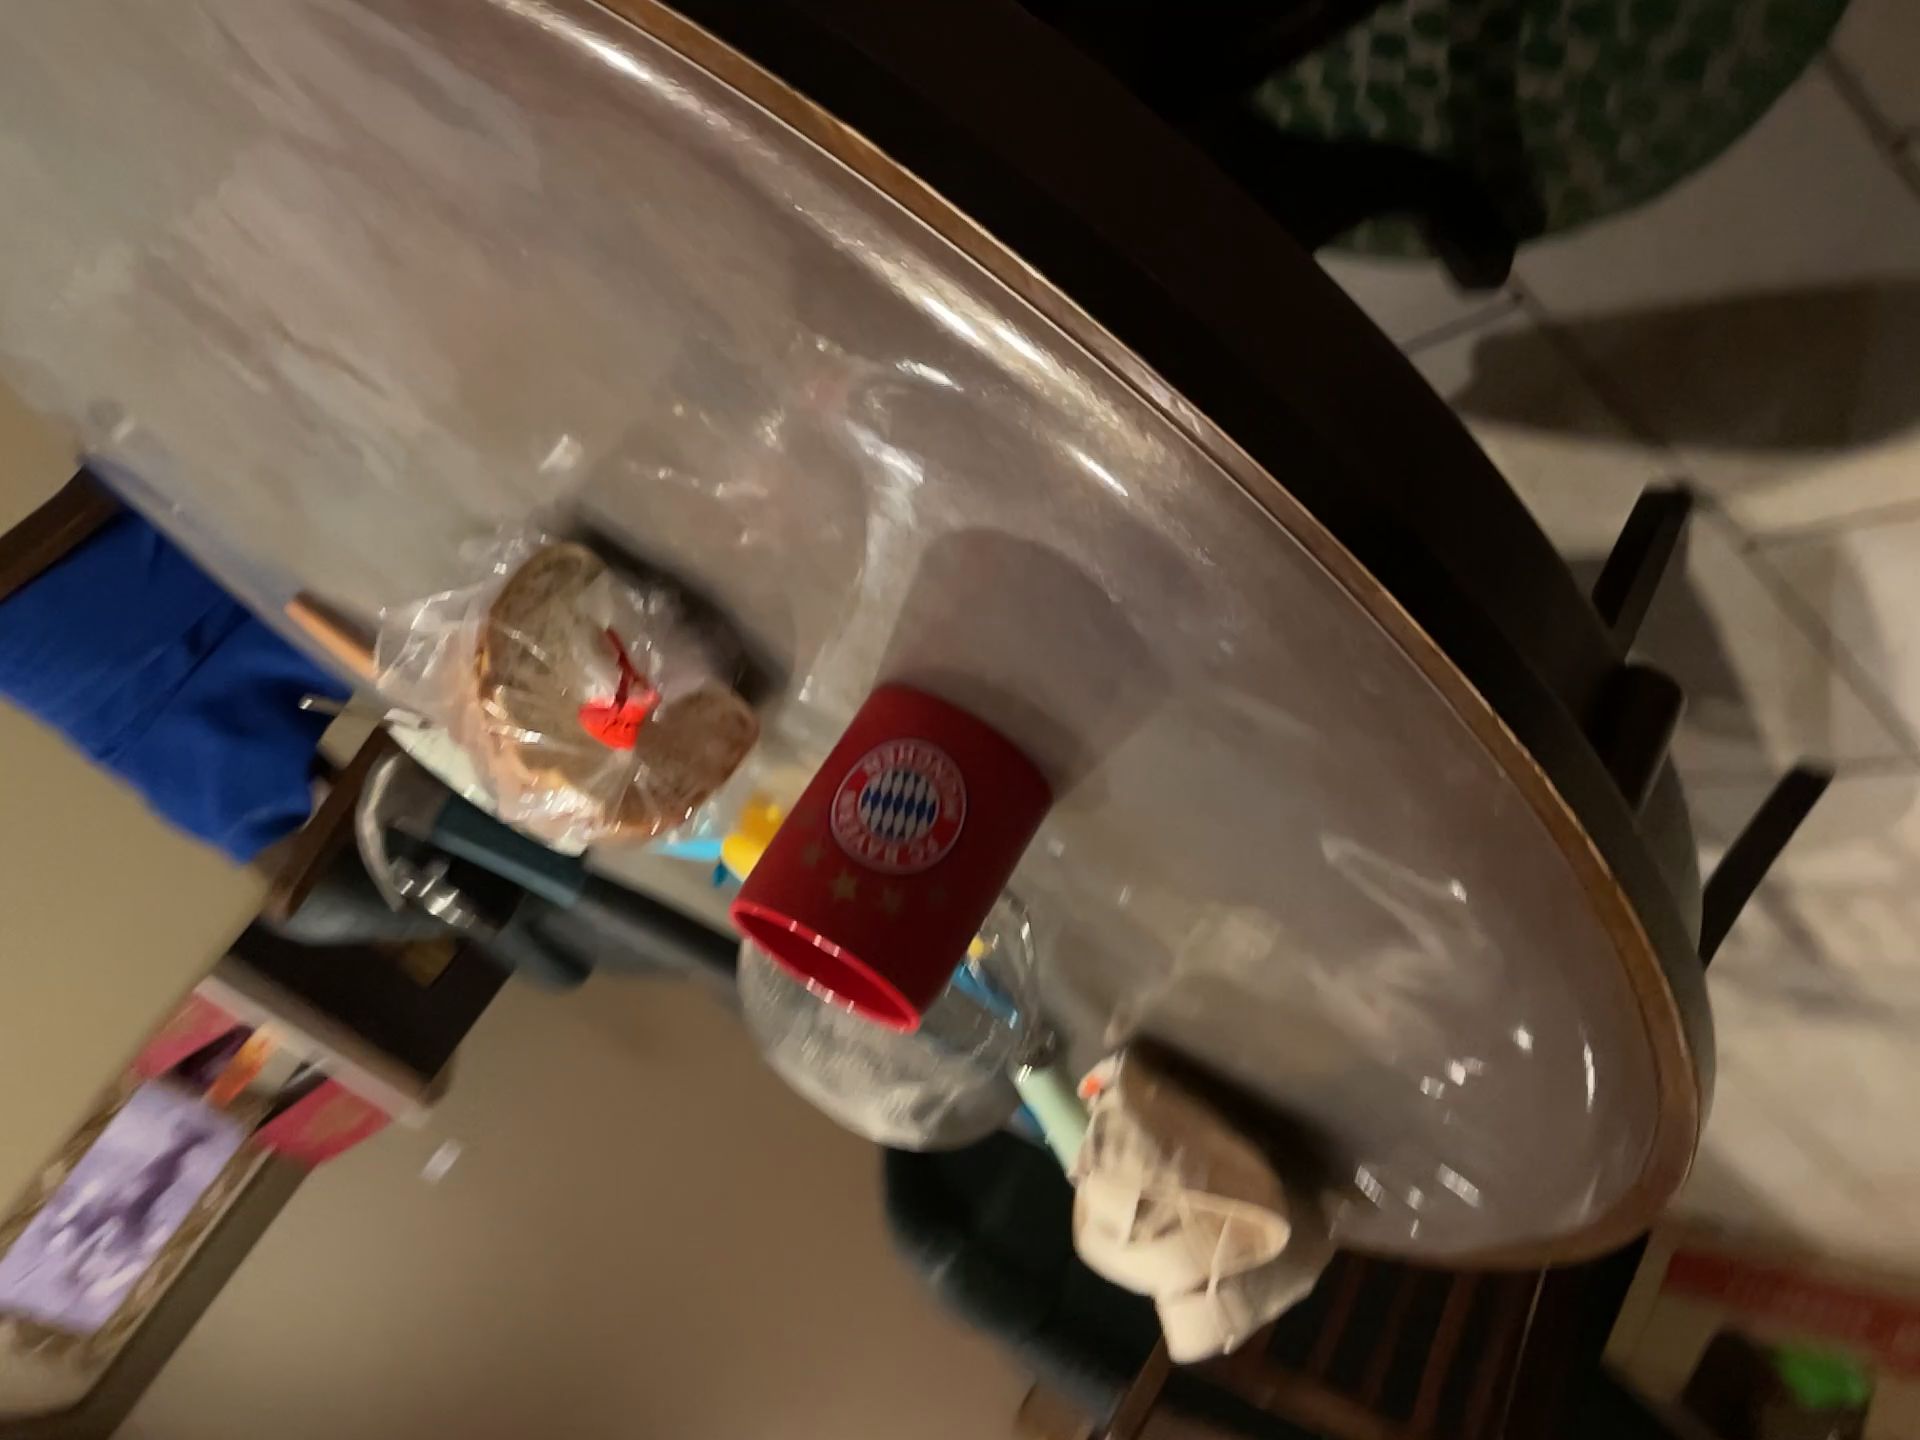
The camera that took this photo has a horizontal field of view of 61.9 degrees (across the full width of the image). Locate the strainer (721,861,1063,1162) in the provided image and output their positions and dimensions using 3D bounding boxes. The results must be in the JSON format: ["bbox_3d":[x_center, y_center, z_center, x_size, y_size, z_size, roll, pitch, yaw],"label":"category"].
[{"bbox_3d":[-0.019,0.221,0.961,0.211,0.095,0.340,9,145,50],"label":"strainer"}]

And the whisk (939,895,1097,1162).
[{"bbox_3d":[0.032,0.157,0.760,0.059,0.058,0.246,-11,131,20],"label":"whisk"}]

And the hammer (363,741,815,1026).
[{"bbox_3d":[-0.235,0.113,1.057,0.331,0.128,0.033,29,164,-13],"label":"hammer"}]

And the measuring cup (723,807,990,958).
[{"bbox_3d":[-0.056,0.092,0.813,0.156,0.029,0.062,26,159,23],"label":"measuring cup"}]

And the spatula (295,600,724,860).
[{"bbox_3d":[-0.279,0.004,0.969,0.317,0.044,0.082,32,161,15],"label":"spatula"}]
